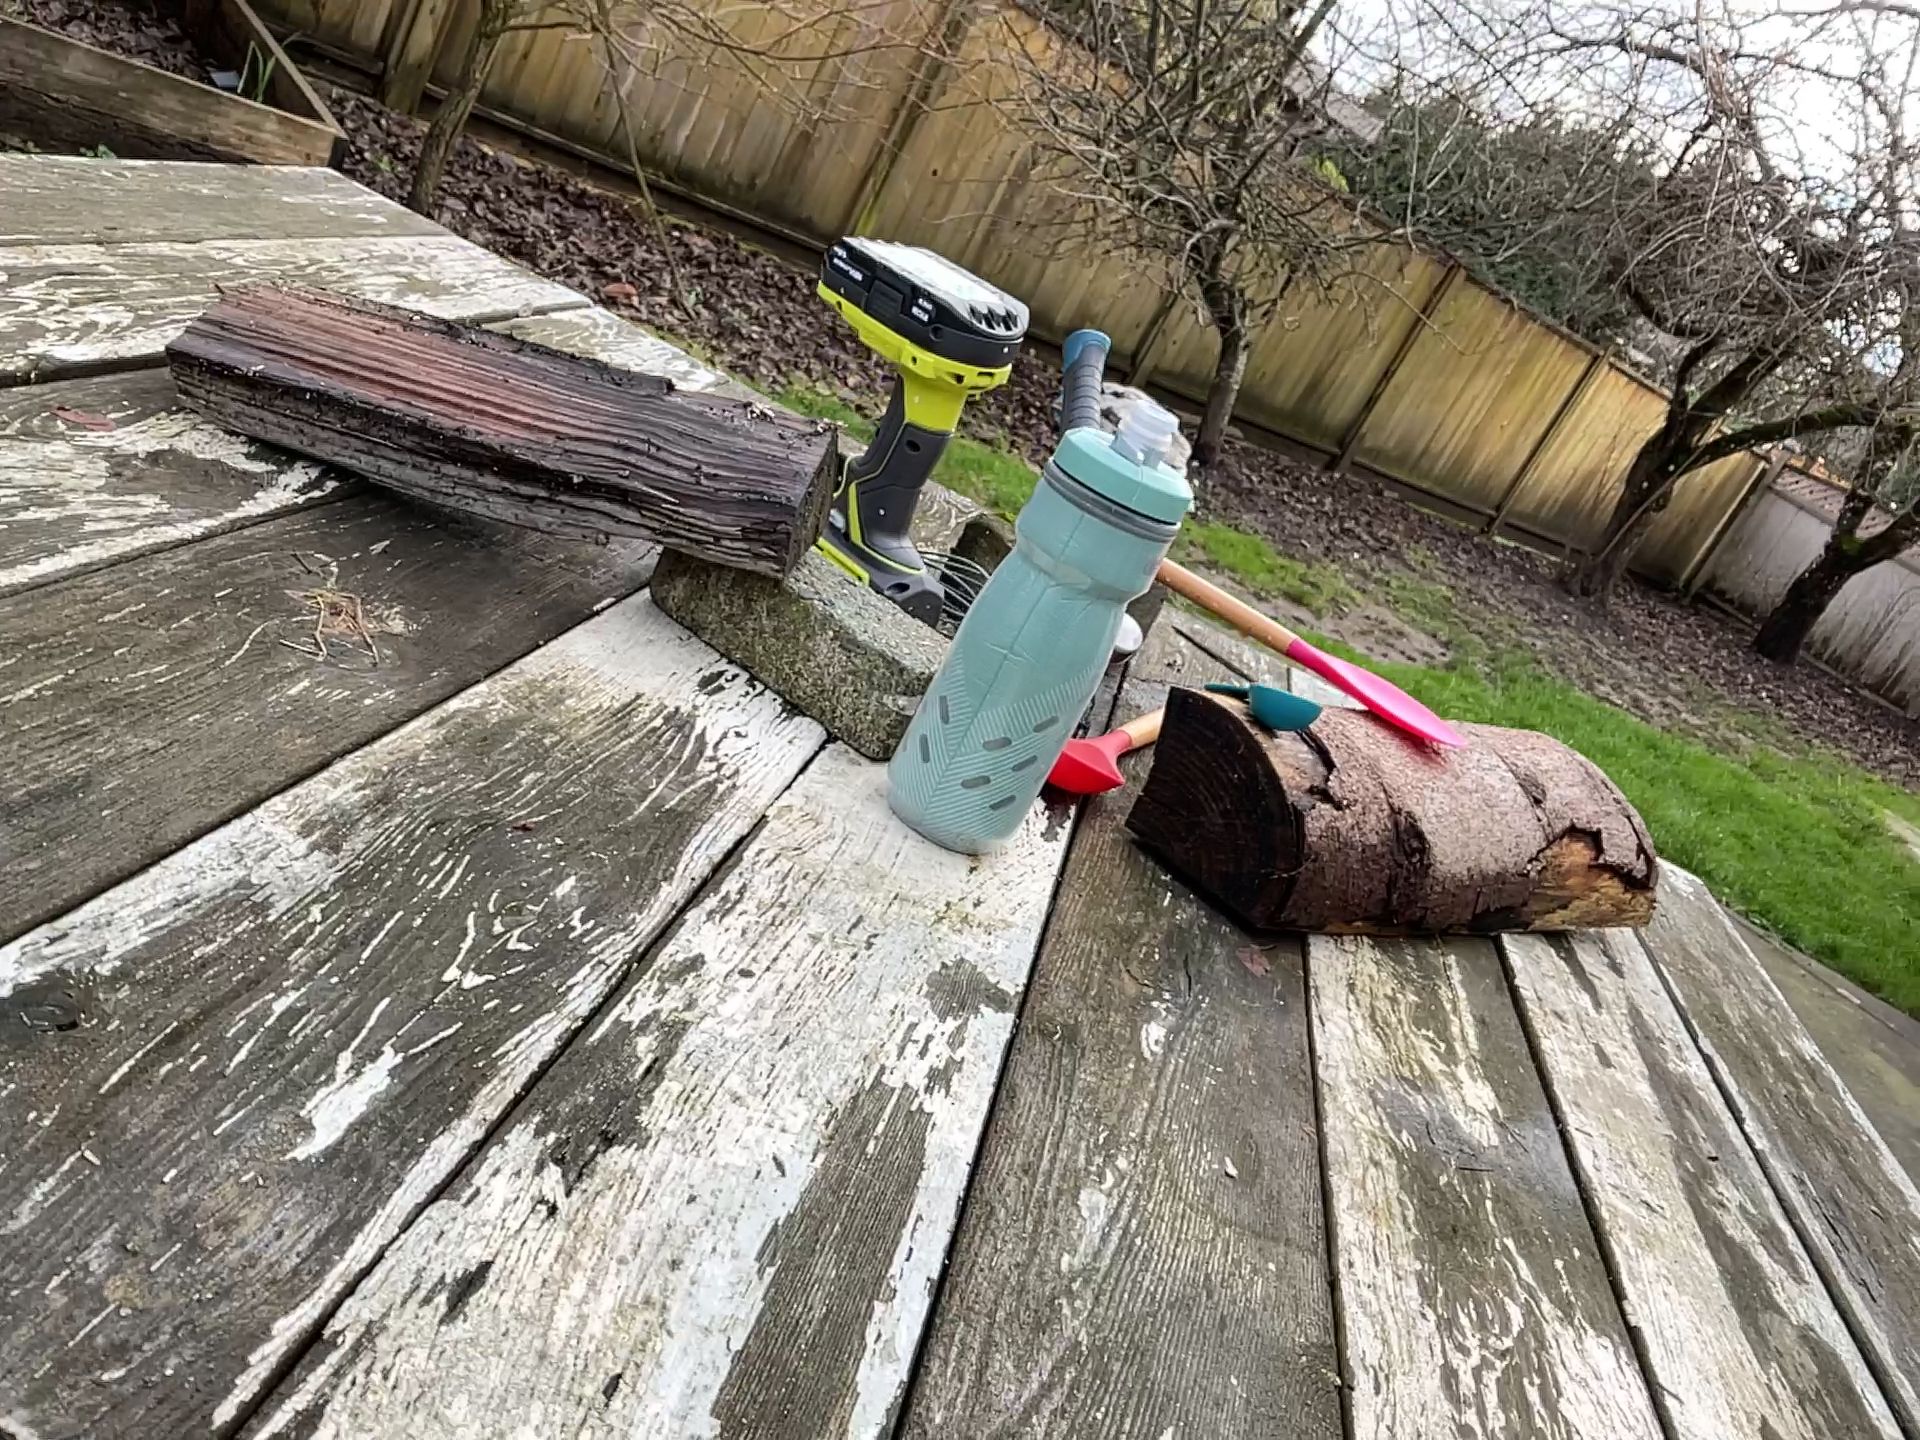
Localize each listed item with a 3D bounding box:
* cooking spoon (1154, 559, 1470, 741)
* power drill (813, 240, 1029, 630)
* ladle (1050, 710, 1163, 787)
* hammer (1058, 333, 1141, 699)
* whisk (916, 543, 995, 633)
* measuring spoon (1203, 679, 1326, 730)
[{"bbox_3d":[0.216,-0.061,1.111,0.068,0.017,0.319,2,27,-49],"label":"cooking spoon"},{"bbox_3d":[-0.057,-0.176,1.002,0.080,0.223,0.171,-8,37,-46],"label":"power drill"},{"bbox_3d":[0.114,0.008,1.049,0.069,0.031,0.315,31,17,18],"label":"ladle"},{"bbox_3d":[0.081,-0.147,1.101,0.033,0.128,0.331,22,52,-21],"label":"hammer"},{"bbox_3d":[-0.056,-0.125,1.120,0.239,0.055,0.055,36,13,33],"label":"whisk"},{"bbox_3d":[0.170,-0.009,0.934,0.042,0.021,0.129,21,-1,-16],"label":"measuring spoon"}]
